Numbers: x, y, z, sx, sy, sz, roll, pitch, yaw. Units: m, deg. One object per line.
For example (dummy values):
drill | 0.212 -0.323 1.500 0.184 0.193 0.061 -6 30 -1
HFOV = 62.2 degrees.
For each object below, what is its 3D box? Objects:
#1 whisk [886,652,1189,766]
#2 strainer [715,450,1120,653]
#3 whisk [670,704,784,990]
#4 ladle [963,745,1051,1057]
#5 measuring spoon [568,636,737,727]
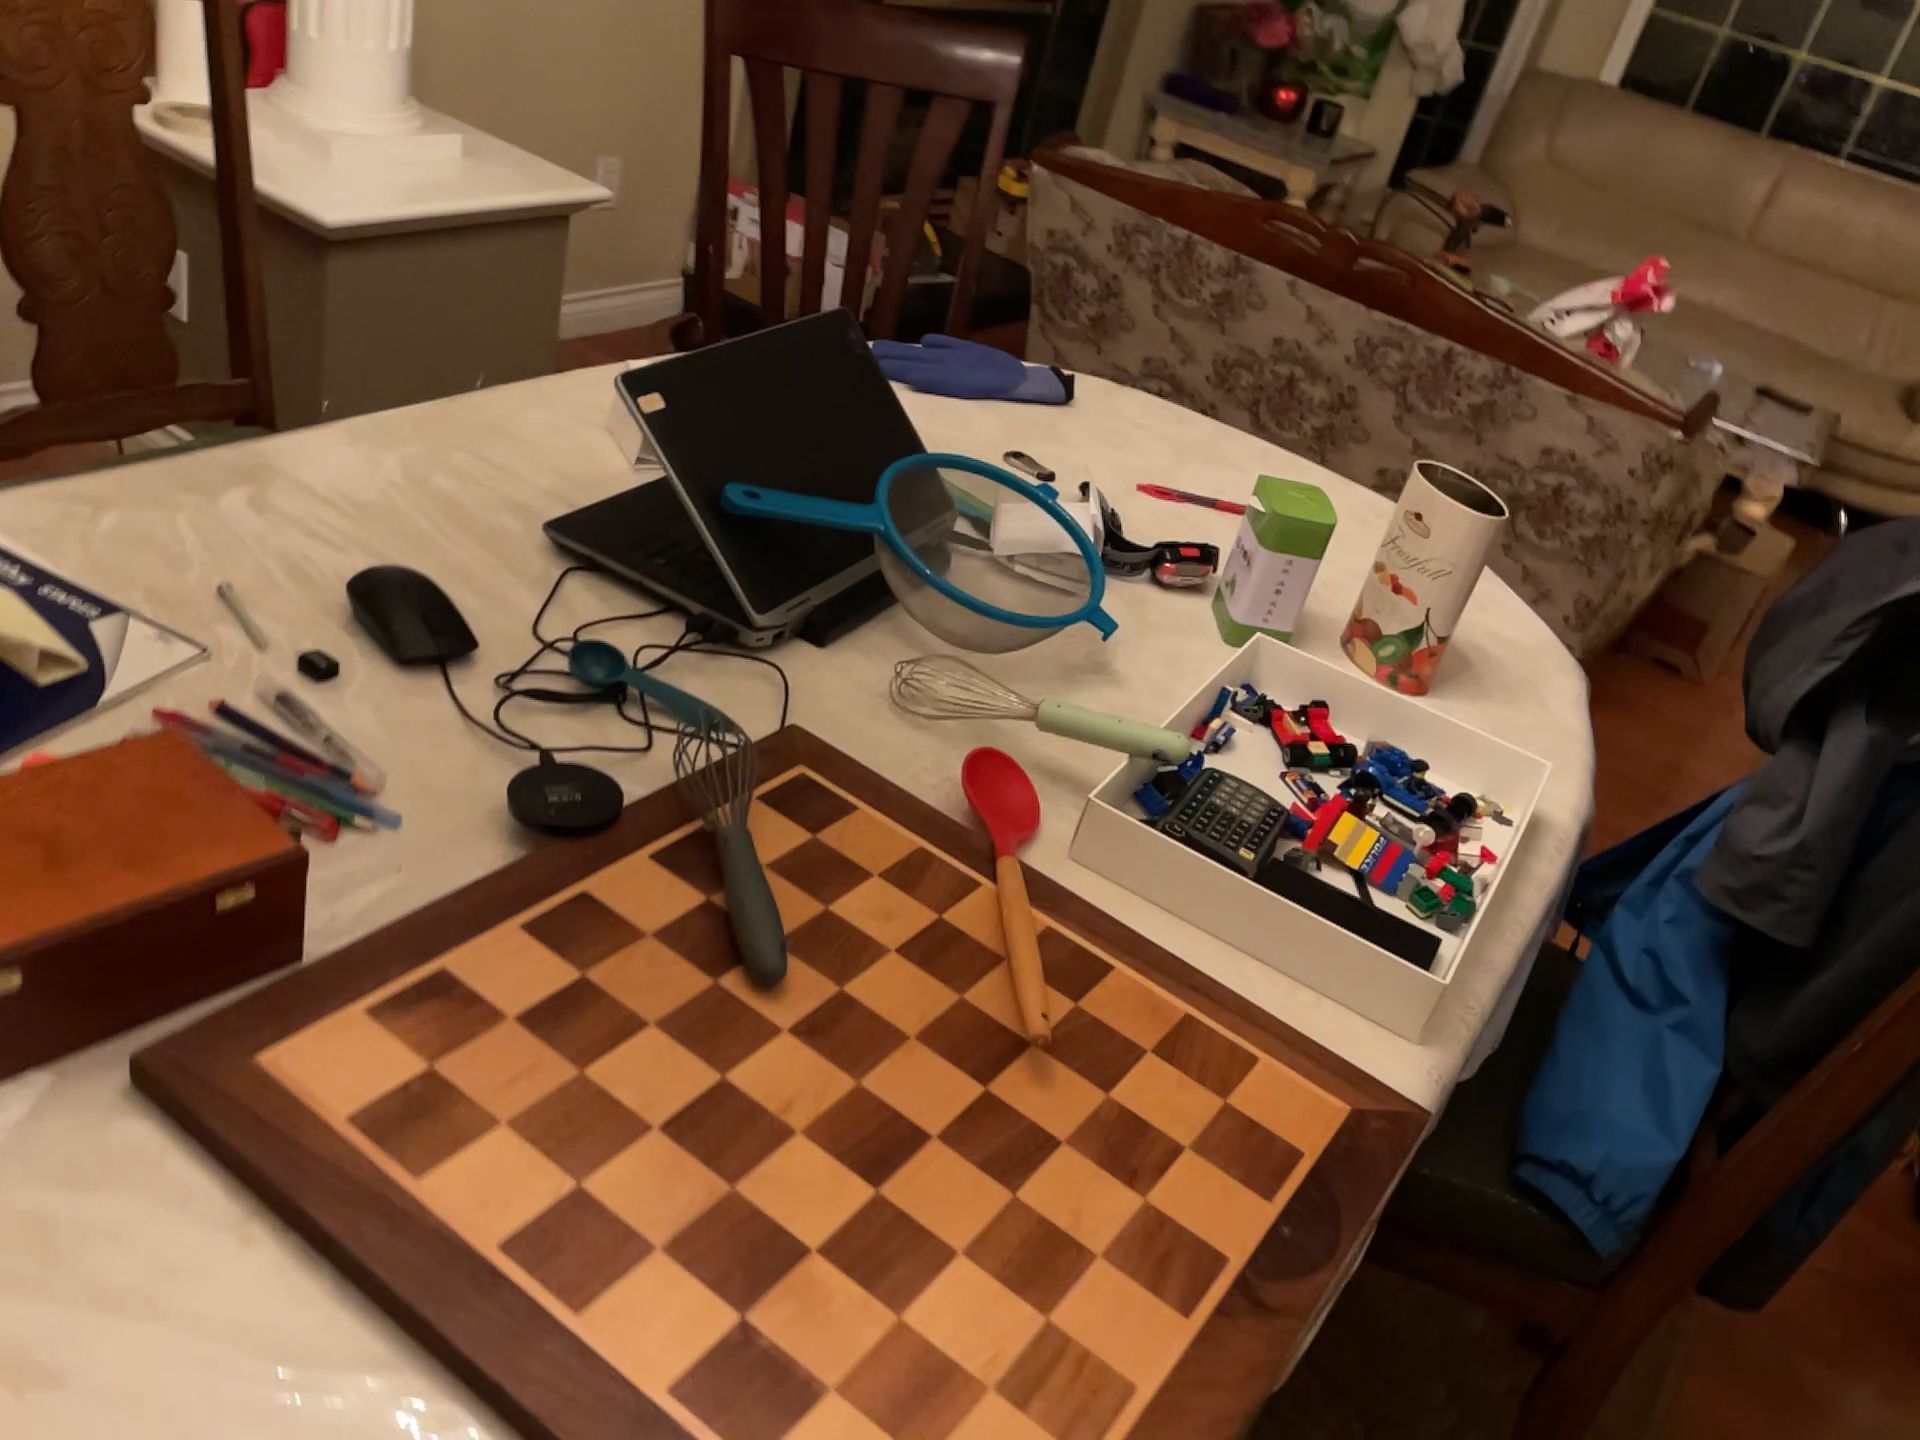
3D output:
whisk | 0.053 -0.006 1.169 0.246 0.057 0.059 15 58 26
strainer | -0.047 -0.130 1.306 0.340 0.095 0.211 6 45 -27
whisk | -0.140 0.073 0.965 0.055 0.055 0.239 -8 41 -13
ladle | 0.035 0.107 1.003 0.069 0.031 0.316 31 21 -18
measuring spoon | -0.220 -0.019 1.132 0.128 0.021 0.042 26 37 -7
